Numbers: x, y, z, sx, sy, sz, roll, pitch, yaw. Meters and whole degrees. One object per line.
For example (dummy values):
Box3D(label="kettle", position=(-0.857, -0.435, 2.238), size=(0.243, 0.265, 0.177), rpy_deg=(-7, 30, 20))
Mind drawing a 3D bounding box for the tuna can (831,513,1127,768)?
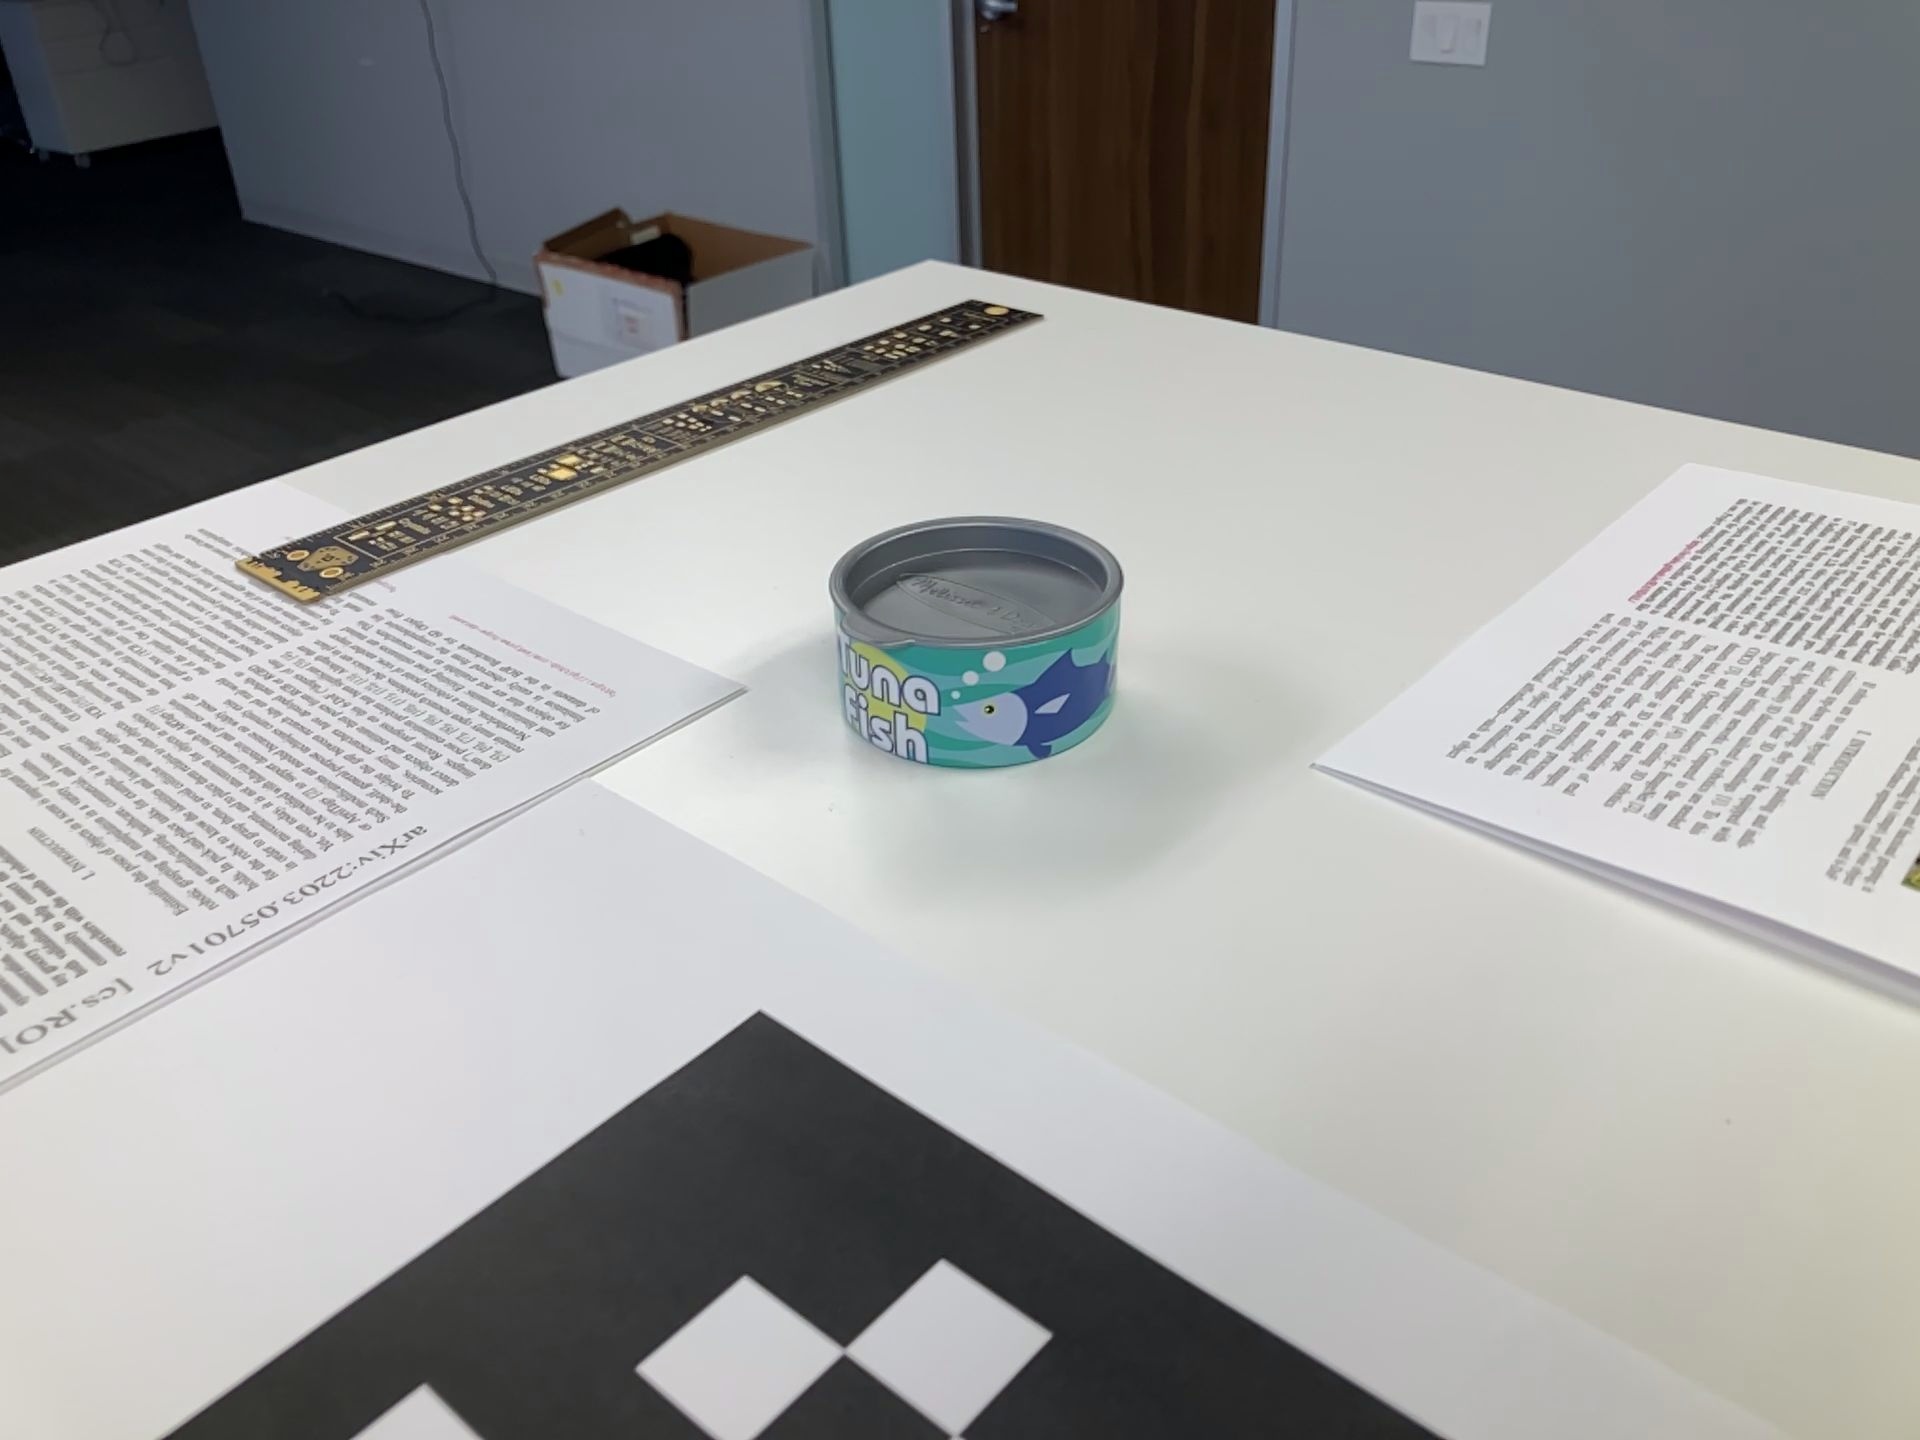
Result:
Box3D(label="tuna can", position=(0.003, -0.018, 0.361), size=(0.071, 0.033, 0.071), rpy_deg=(-1, 31, 1))
